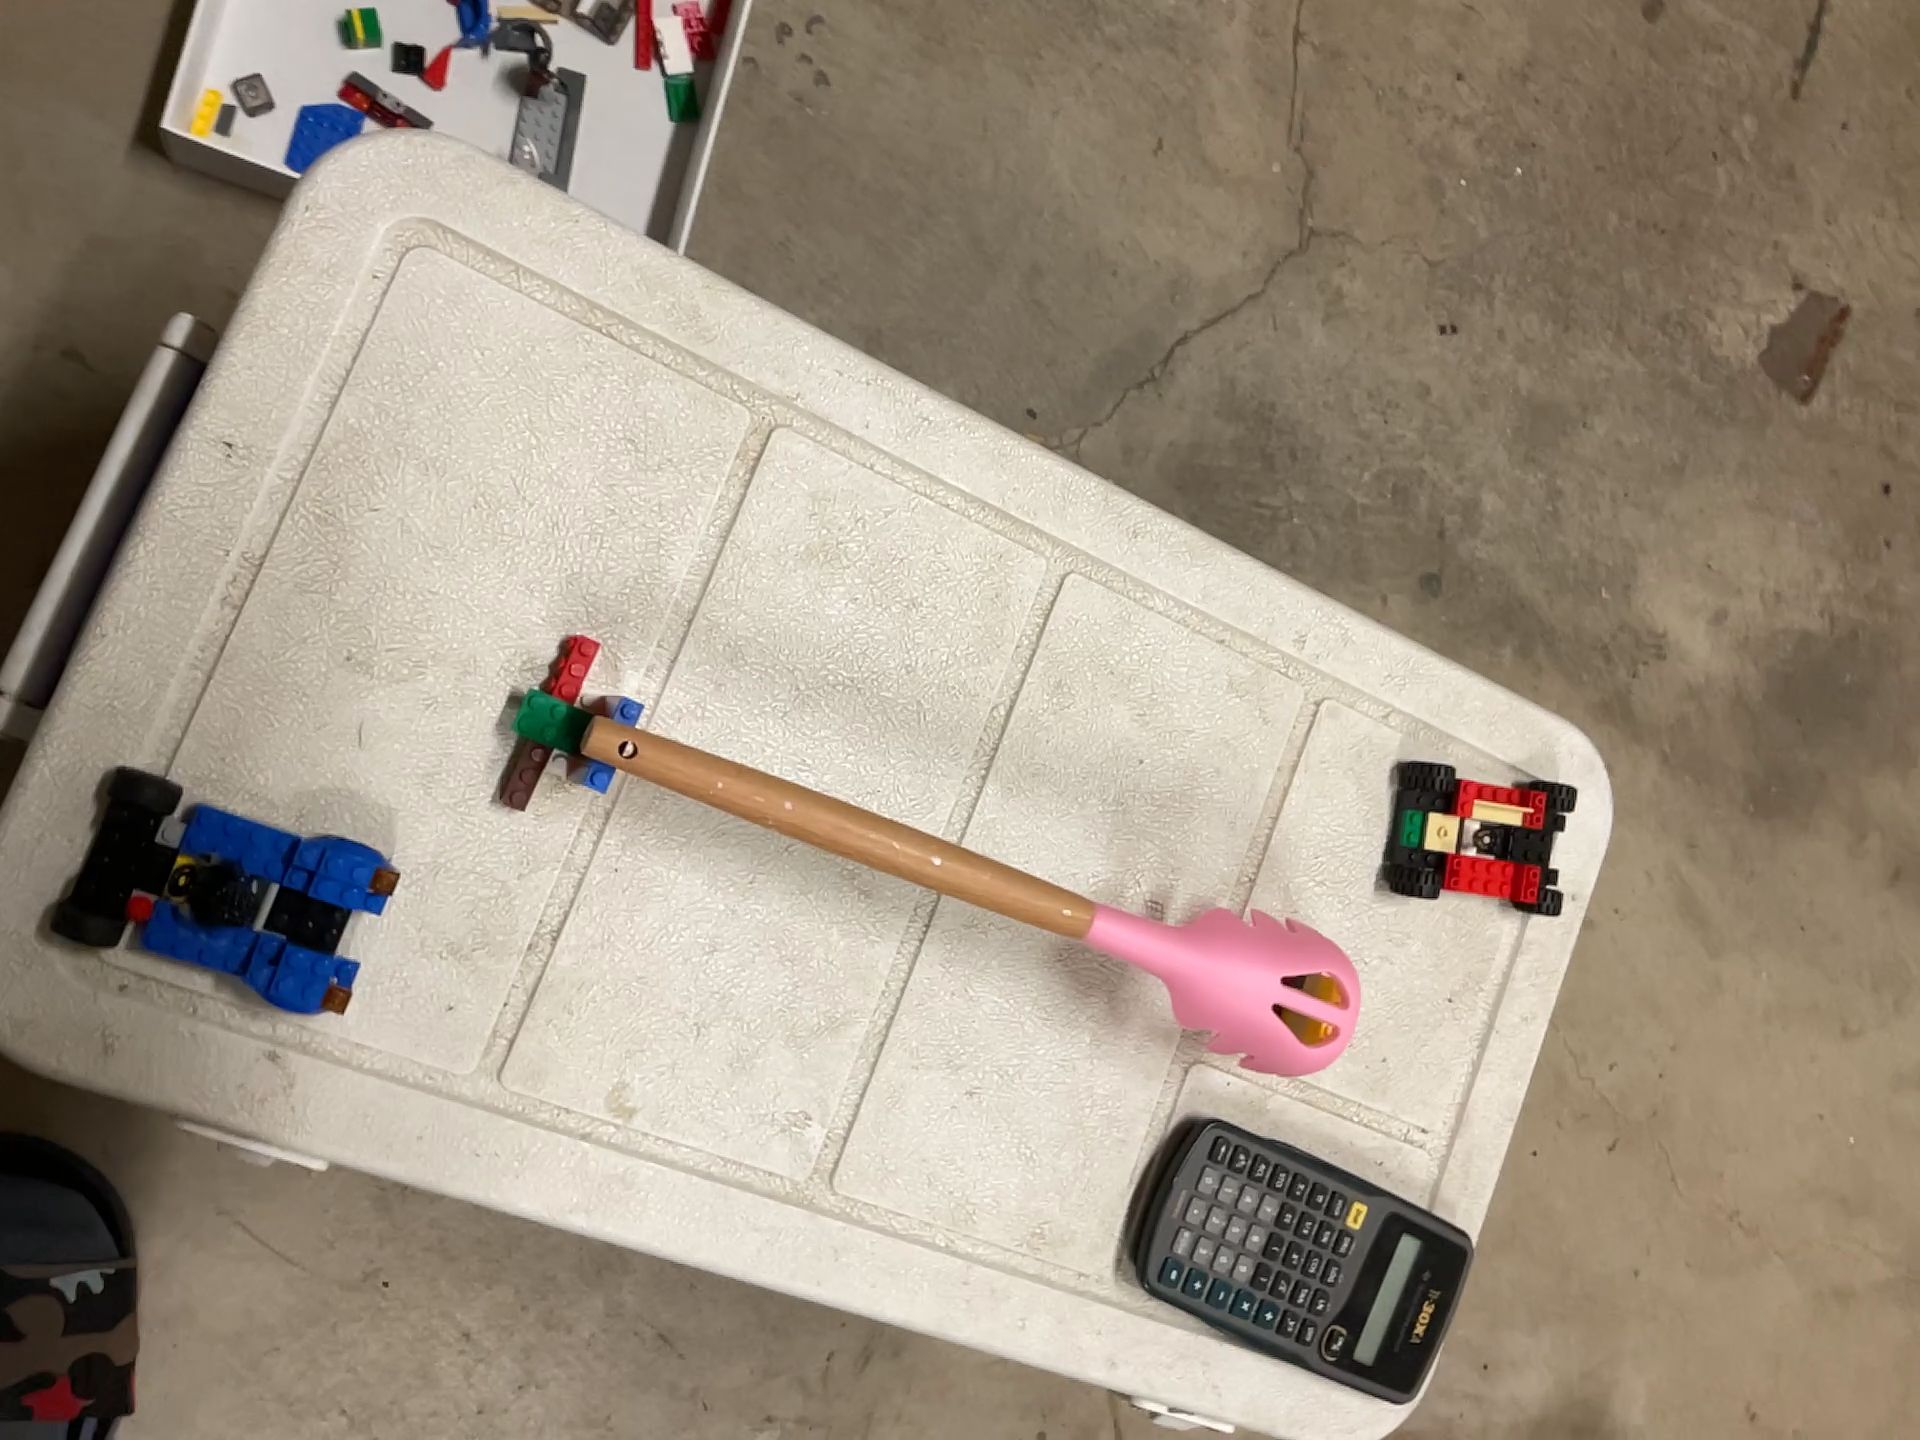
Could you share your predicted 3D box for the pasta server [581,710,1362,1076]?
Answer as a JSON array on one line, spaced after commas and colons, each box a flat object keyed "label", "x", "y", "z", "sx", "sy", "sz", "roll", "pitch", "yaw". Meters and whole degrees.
[{"label": "pasta server", "x": 0.018, "y": 0.061, "z": 0.563, "sx": 0.316, "sy": 0.040, "sz": 0.060, "roll": 23, "pitch": 84, "yaw": -18}]
